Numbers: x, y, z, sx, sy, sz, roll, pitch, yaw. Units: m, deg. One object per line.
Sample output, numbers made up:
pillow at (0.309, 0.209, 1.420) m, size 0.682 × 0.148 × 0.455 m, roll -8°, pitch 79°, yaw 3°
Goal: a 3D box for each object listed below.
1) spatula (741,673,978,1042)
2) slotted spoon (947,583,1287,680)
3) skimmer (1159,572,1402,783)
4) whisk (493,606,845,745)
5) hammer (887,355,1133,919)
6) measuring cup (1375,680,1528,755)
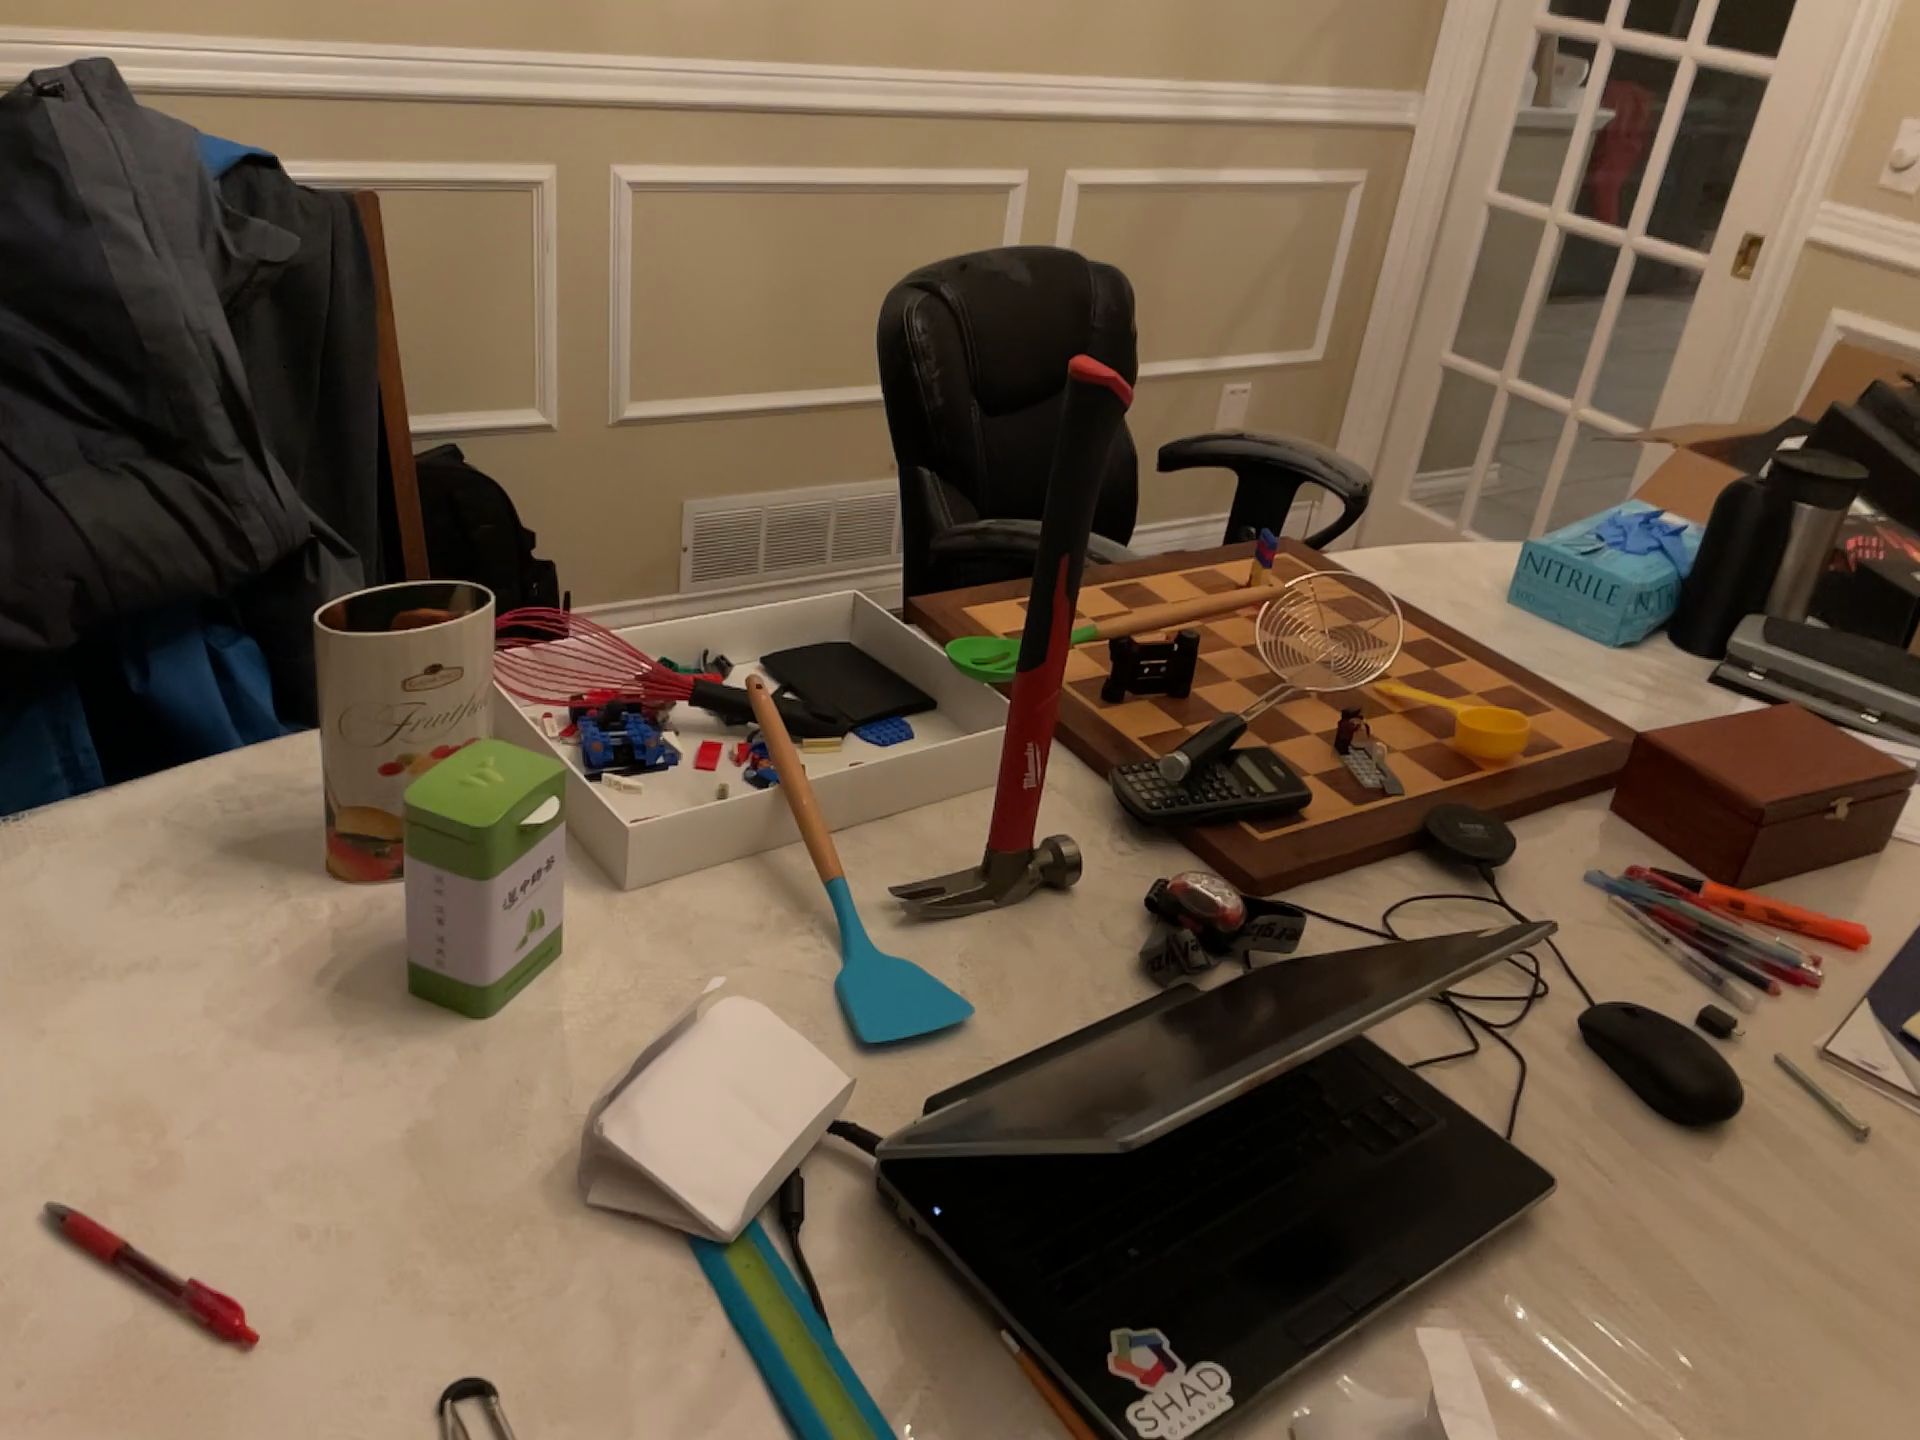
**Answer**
spatula at (-0.089, 0.082, 1.064) m, size 0.082 × 0.044 × 0.318 m, roll -10°, pitch 54°, yaw -26°
slotted spoon at (0.137, -0.078, 1.332) m, size 0.313 × 0.031 × 0.070 m, roll -13°, pitch 32°, yaw -18°
skimmer at (0.260, -0.040, 1.322) m, size 0.127 × 0.090 × 0.363 m, roll 25°, pitch 29°, yaw 25°
whisk at (-0.230, -0.026, 1.234) m, size 0.295 × 0.073 × 0.073 m, roll 15°, pitch 45°, yaw -17°
hammer at (0.041, -0.041, 1.022) m, size 0.143 × 0.386 × 0.038 m, roll -10°, pitch 34°, yaw -30°
measuring cup at (0.422, -0.004, 1.387) m, size 0.062 × 0.029 × 0.157 m, roll -15°, pitch 24°, yaw -30°
